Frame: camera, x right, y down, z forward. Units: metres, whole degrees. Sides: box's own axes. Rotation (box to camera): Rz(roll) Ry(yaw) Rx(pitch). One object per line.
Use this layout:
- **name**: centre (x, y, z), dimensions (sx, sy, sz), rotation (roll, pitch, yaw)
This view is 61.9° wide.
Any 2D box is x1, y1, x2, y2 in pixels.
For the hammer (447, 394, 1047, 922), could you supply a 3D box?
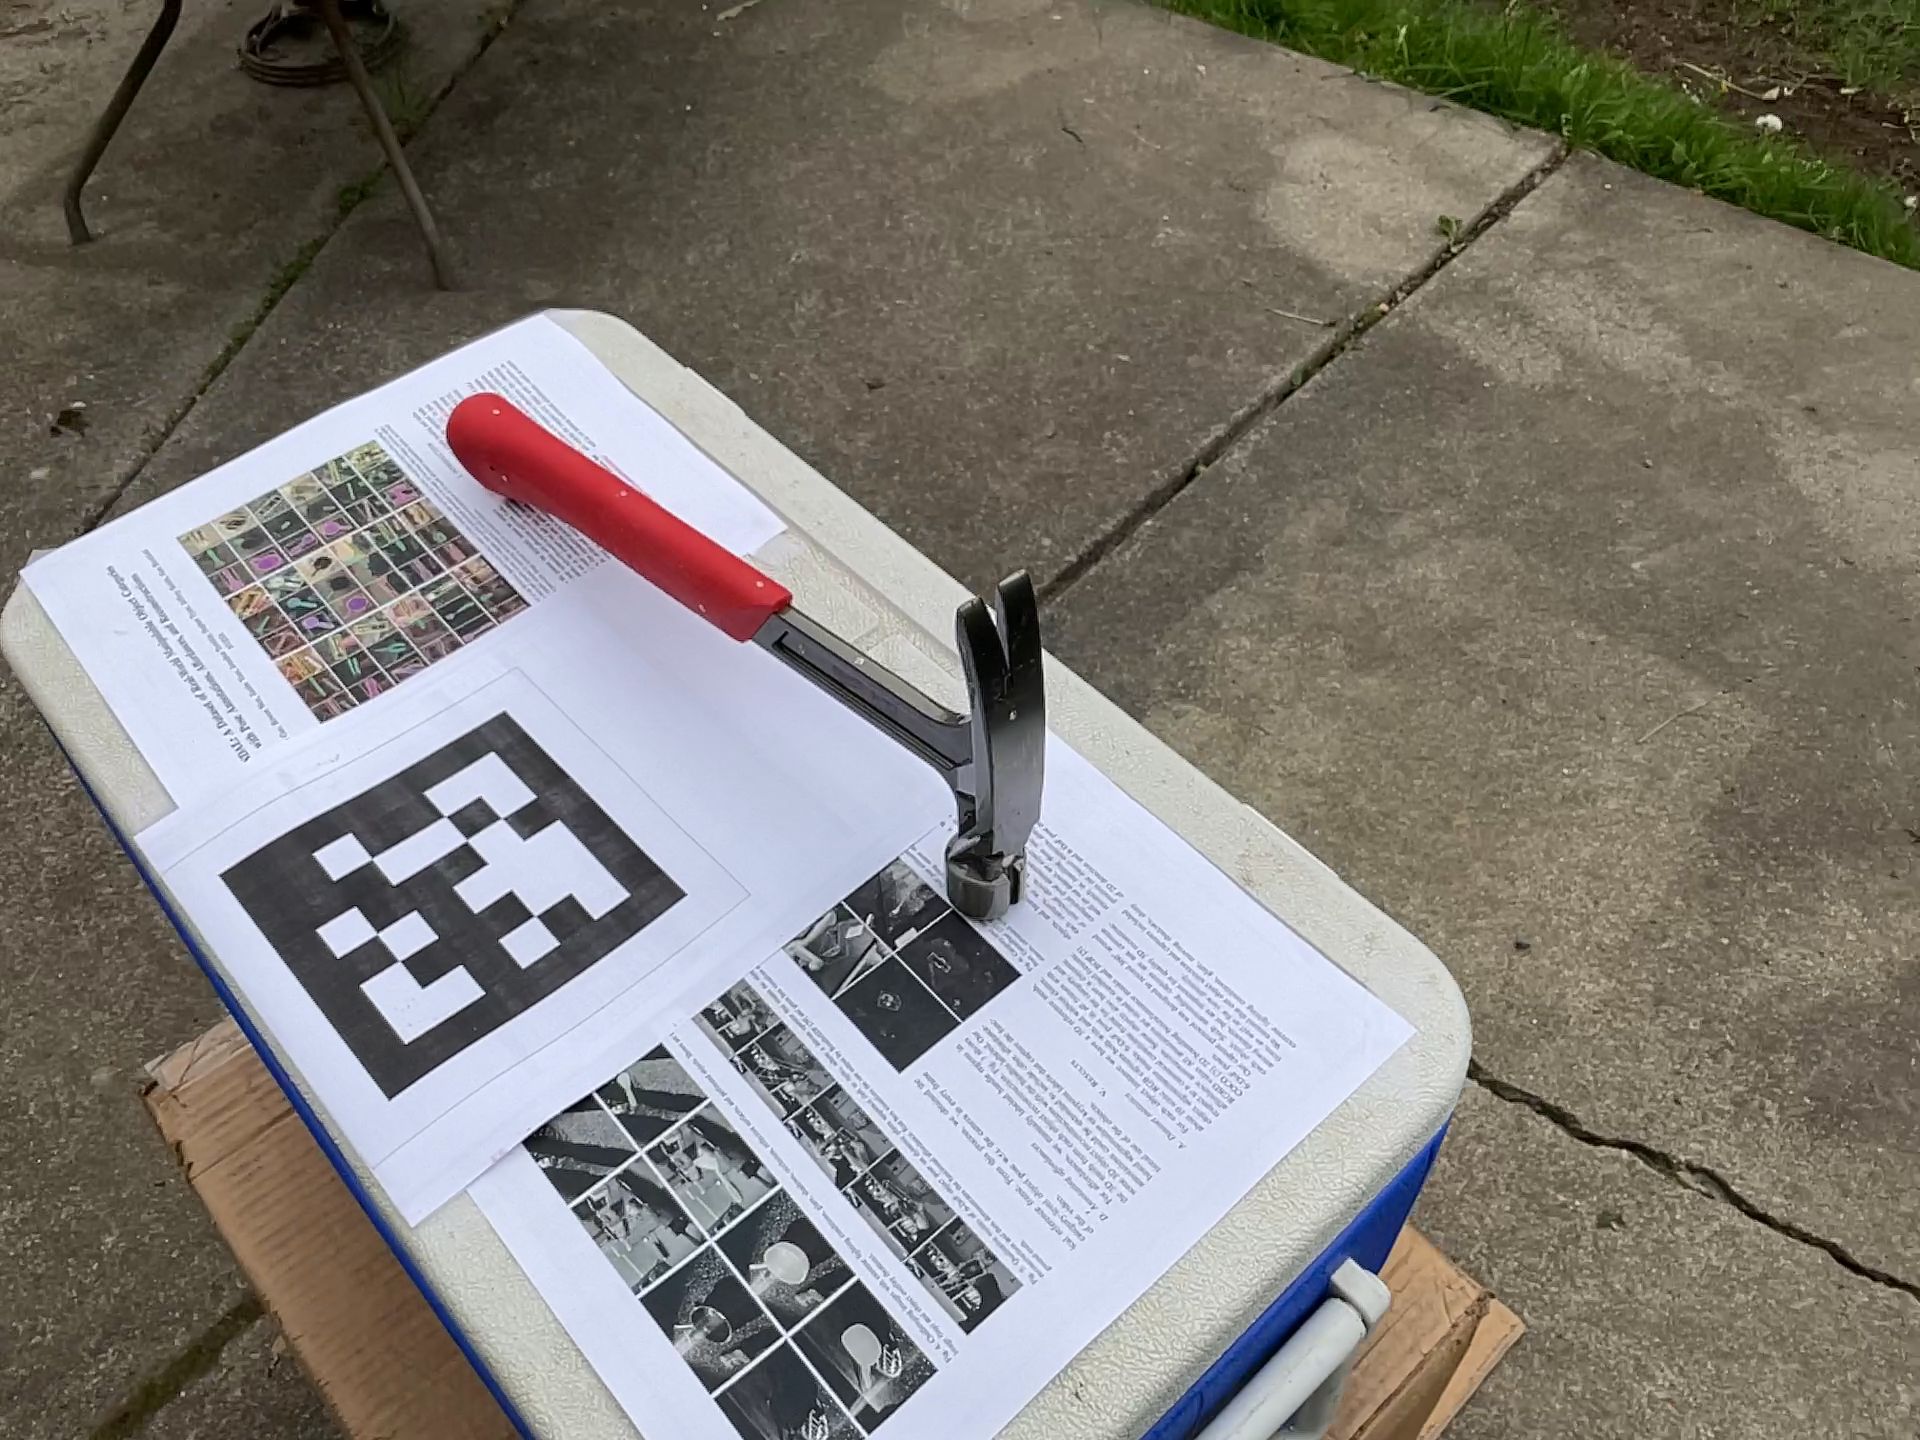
- **hammer**: centre (-0.103, -0.063, 0.649), dimensions (0.036, 0.149, 0.359), rotation (-33, 50, -30)
